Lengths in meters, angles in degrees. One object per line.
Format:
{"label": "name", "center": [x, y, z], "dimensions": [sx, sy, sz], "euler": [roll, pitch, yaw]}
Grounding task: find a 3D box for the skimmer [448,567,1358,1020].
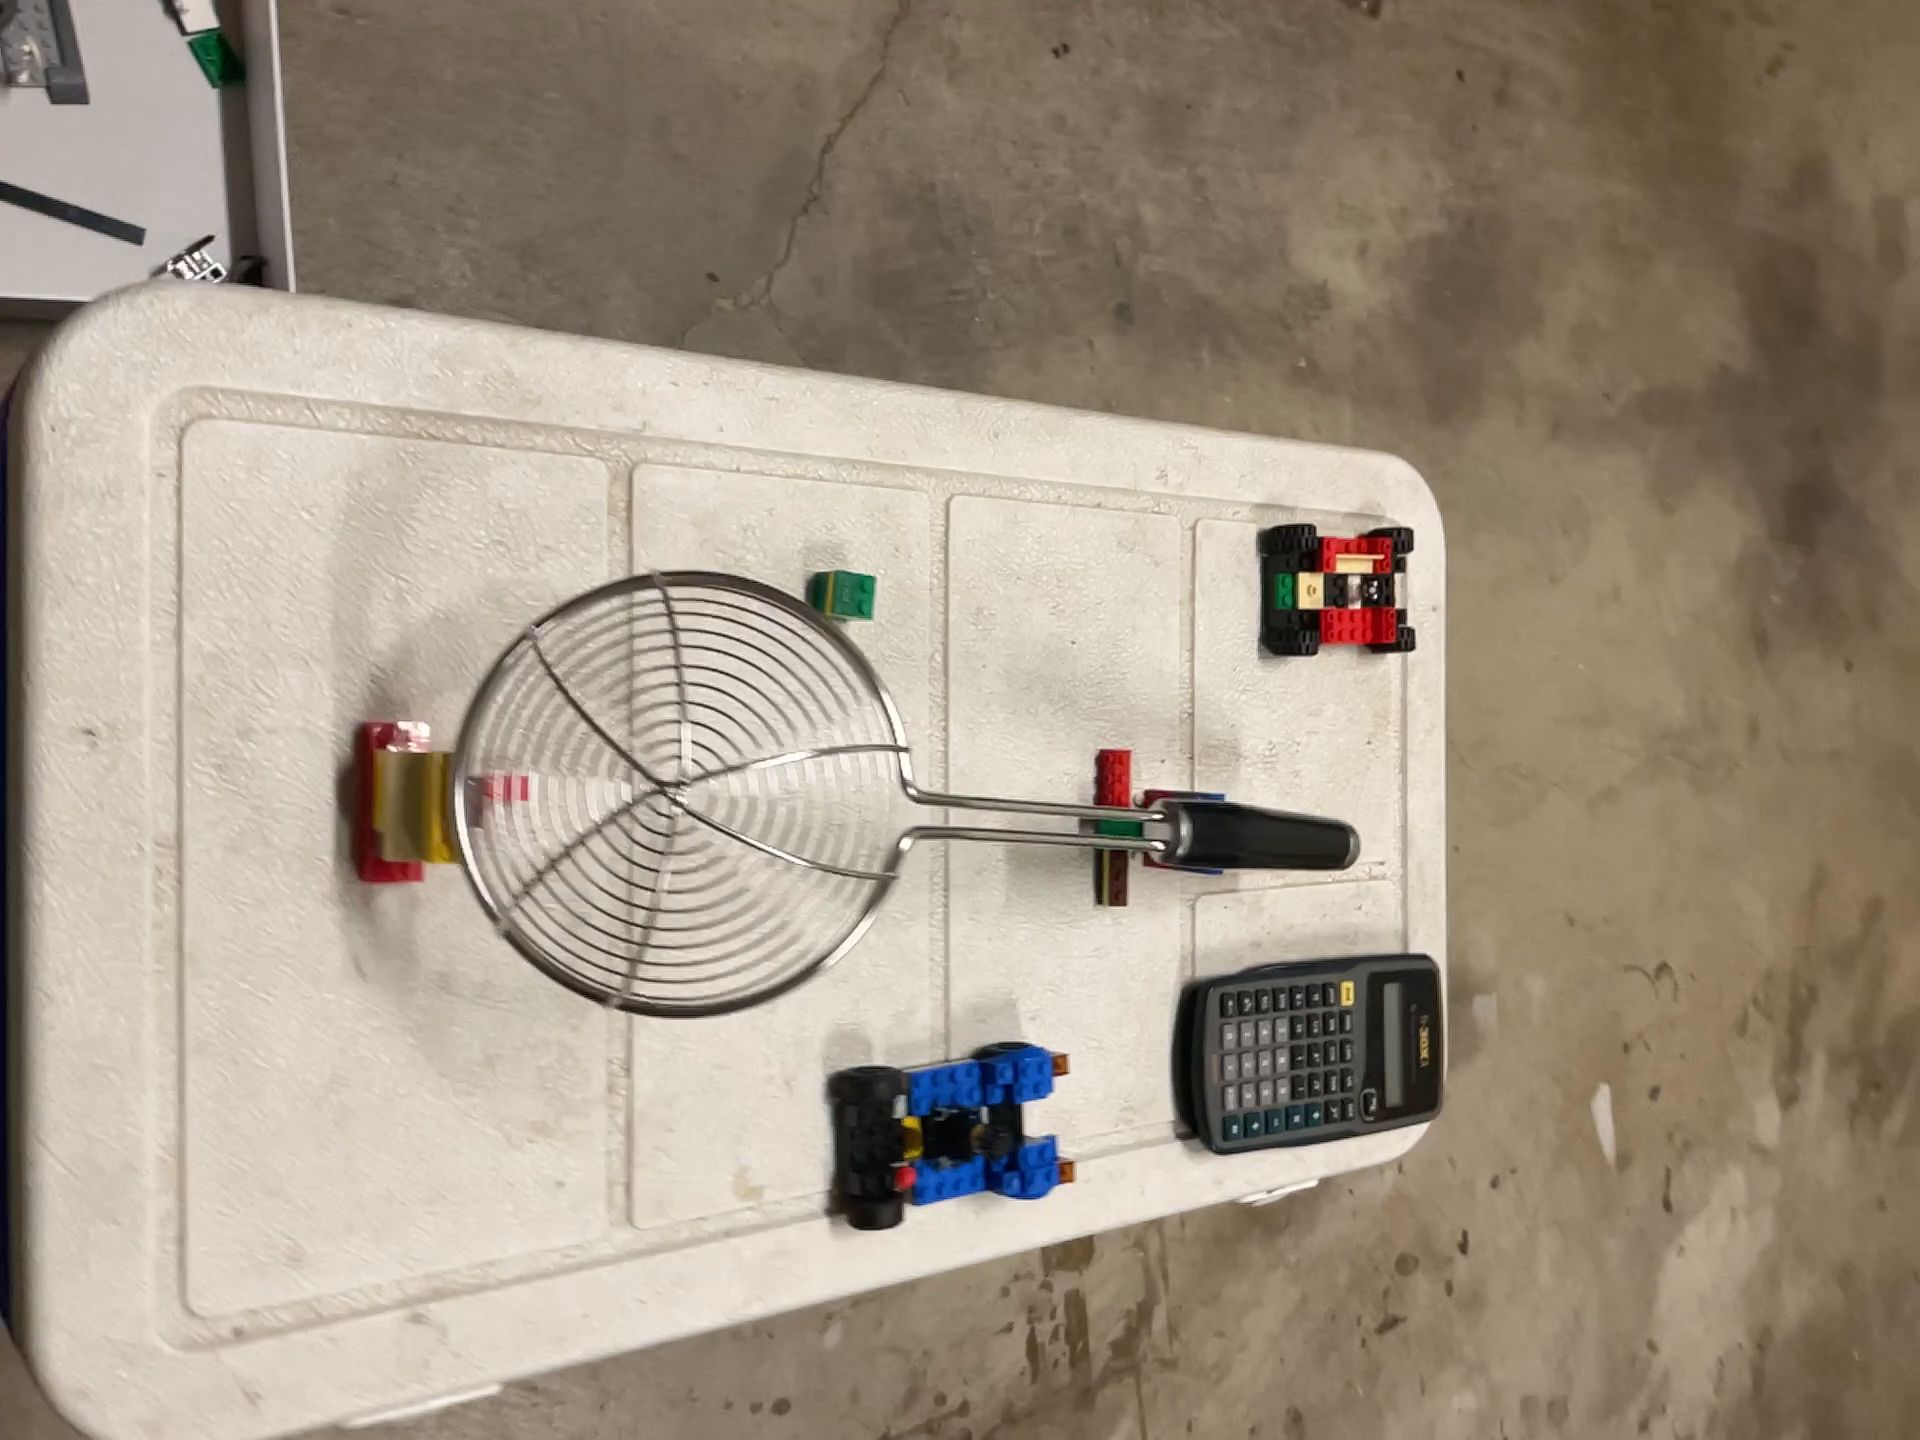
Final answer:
{"label": "skimmer", "center": [0.011, 0.033, 0.546], "dimensions": [0.363, 0.090, 0.127], "euler": [8, 85, -47]}
